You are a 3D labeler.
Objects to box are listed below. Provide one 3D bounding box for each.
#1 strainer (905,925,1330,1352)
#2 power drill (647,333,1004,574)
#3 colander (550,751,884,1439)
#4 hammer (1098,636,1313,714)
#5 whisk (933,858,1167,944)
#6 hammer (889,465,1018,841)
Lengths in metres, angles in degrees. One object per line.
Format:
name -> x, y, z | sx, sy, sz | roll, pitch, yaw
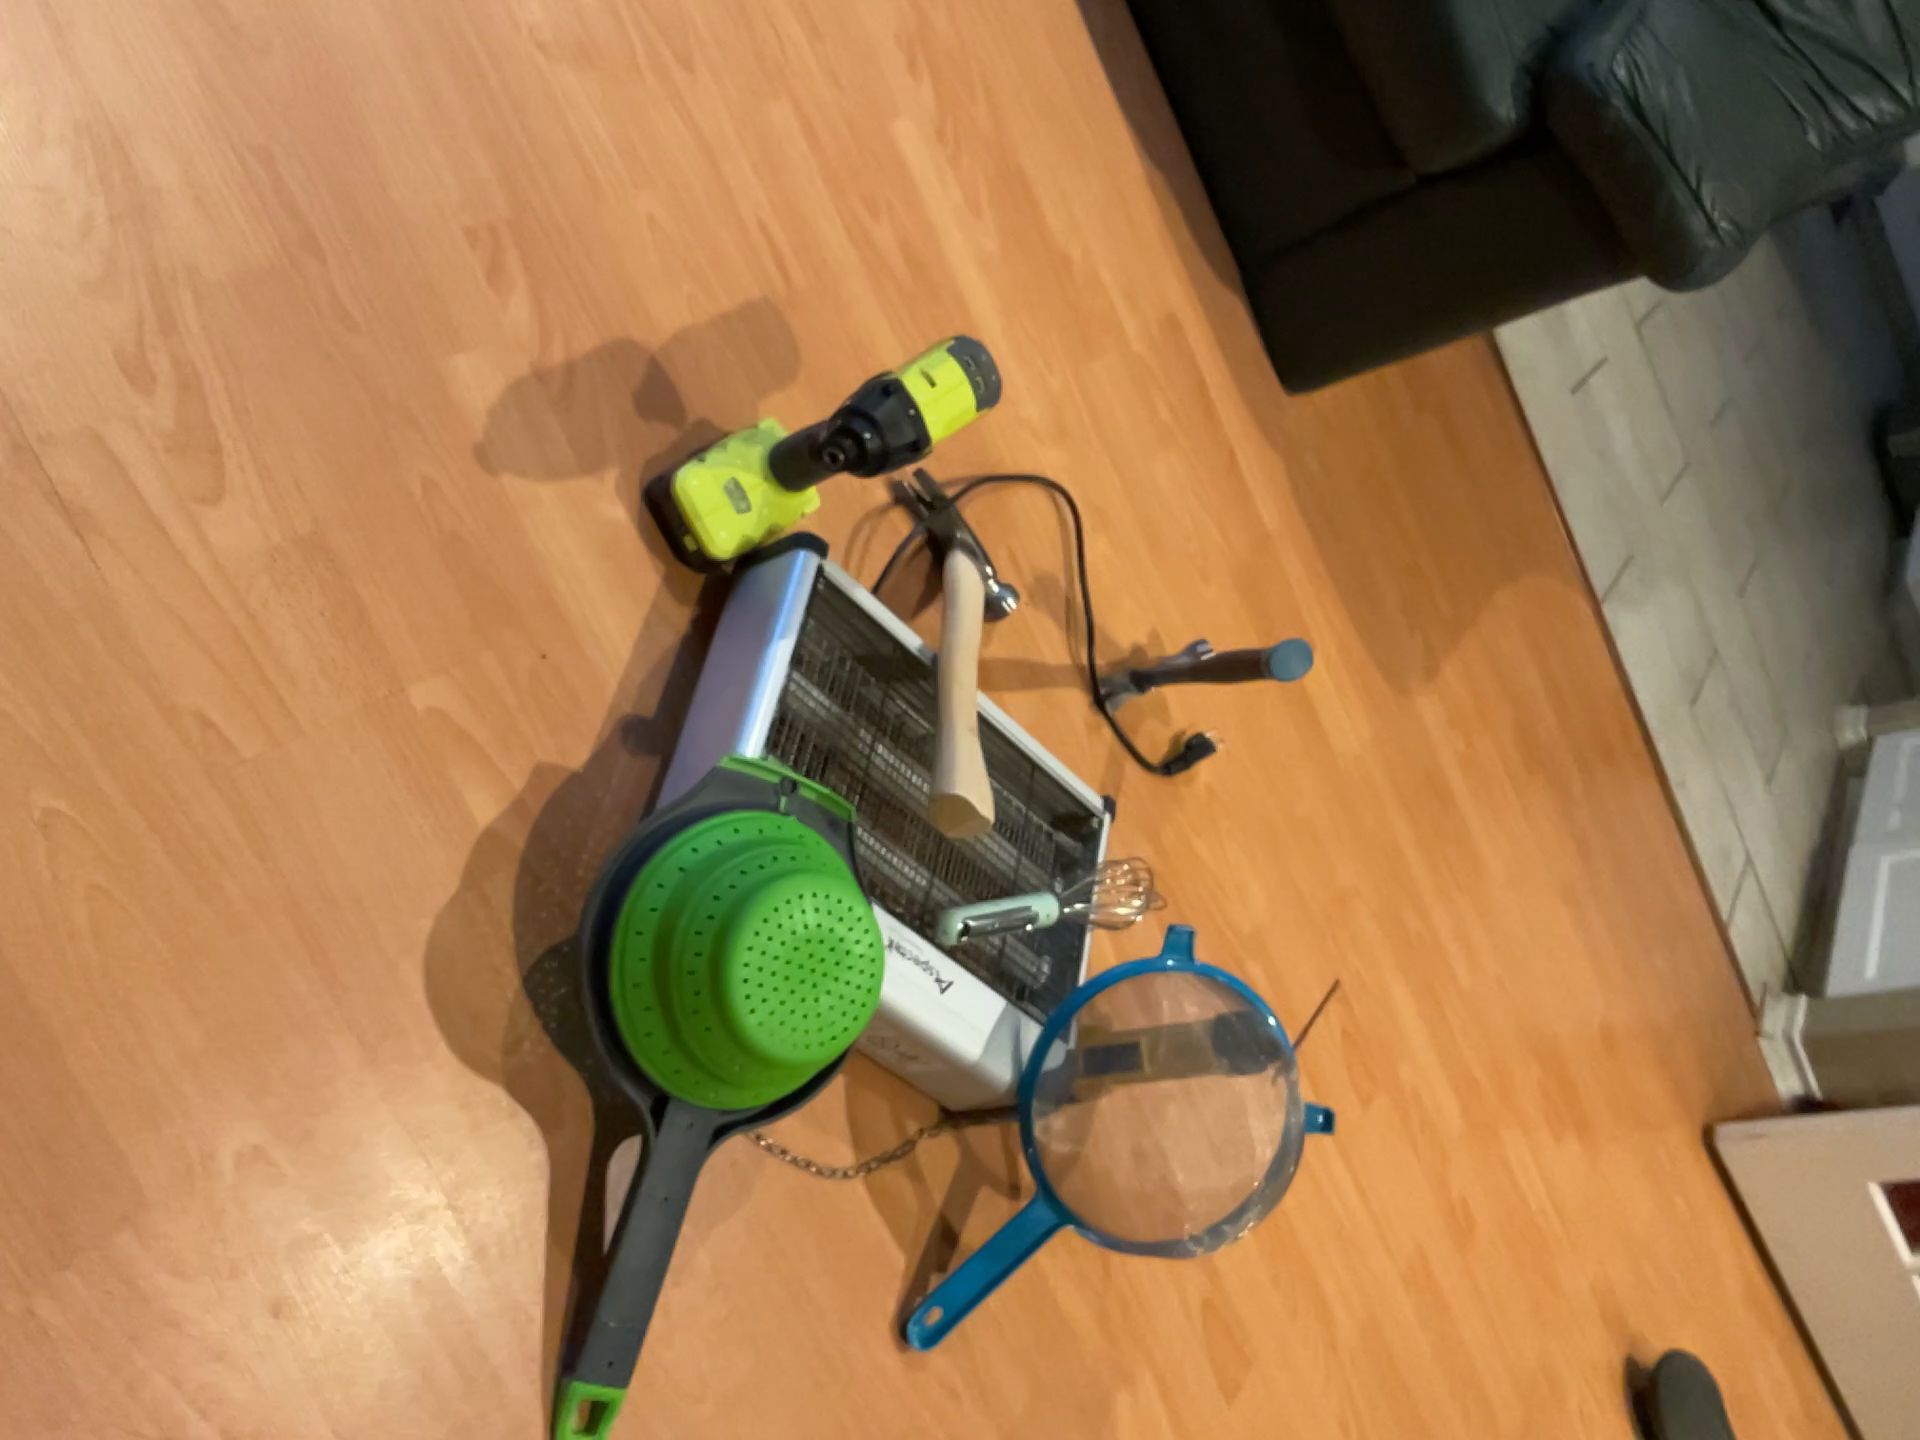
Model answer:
strainer -> 0.103, 0.315, 1.092 | 0.340, 0.095, 0.211 | -40, 99, -13
power drill -> -0.097, -0.177, 1.073 | 0.171, 0.223, 0.080 | -43, 110, -49
colander -> -0.136, 0.215, 0.909 | 0.204, 0.094, 0.397 | 27, 73, -34
hammer -> 0.211, -0.044, 1.353 | 0.128, 0.331, 0.033 | -21, 94, -12
whisk -> 0.068, 0.137, 1.169 | 0.246, 0.059, 0.057 | -3, 108, -48
hammer -> -0.008, -0.051, 1.162 | 0.146, 0.038, 0.411 | 53, 18, -24
